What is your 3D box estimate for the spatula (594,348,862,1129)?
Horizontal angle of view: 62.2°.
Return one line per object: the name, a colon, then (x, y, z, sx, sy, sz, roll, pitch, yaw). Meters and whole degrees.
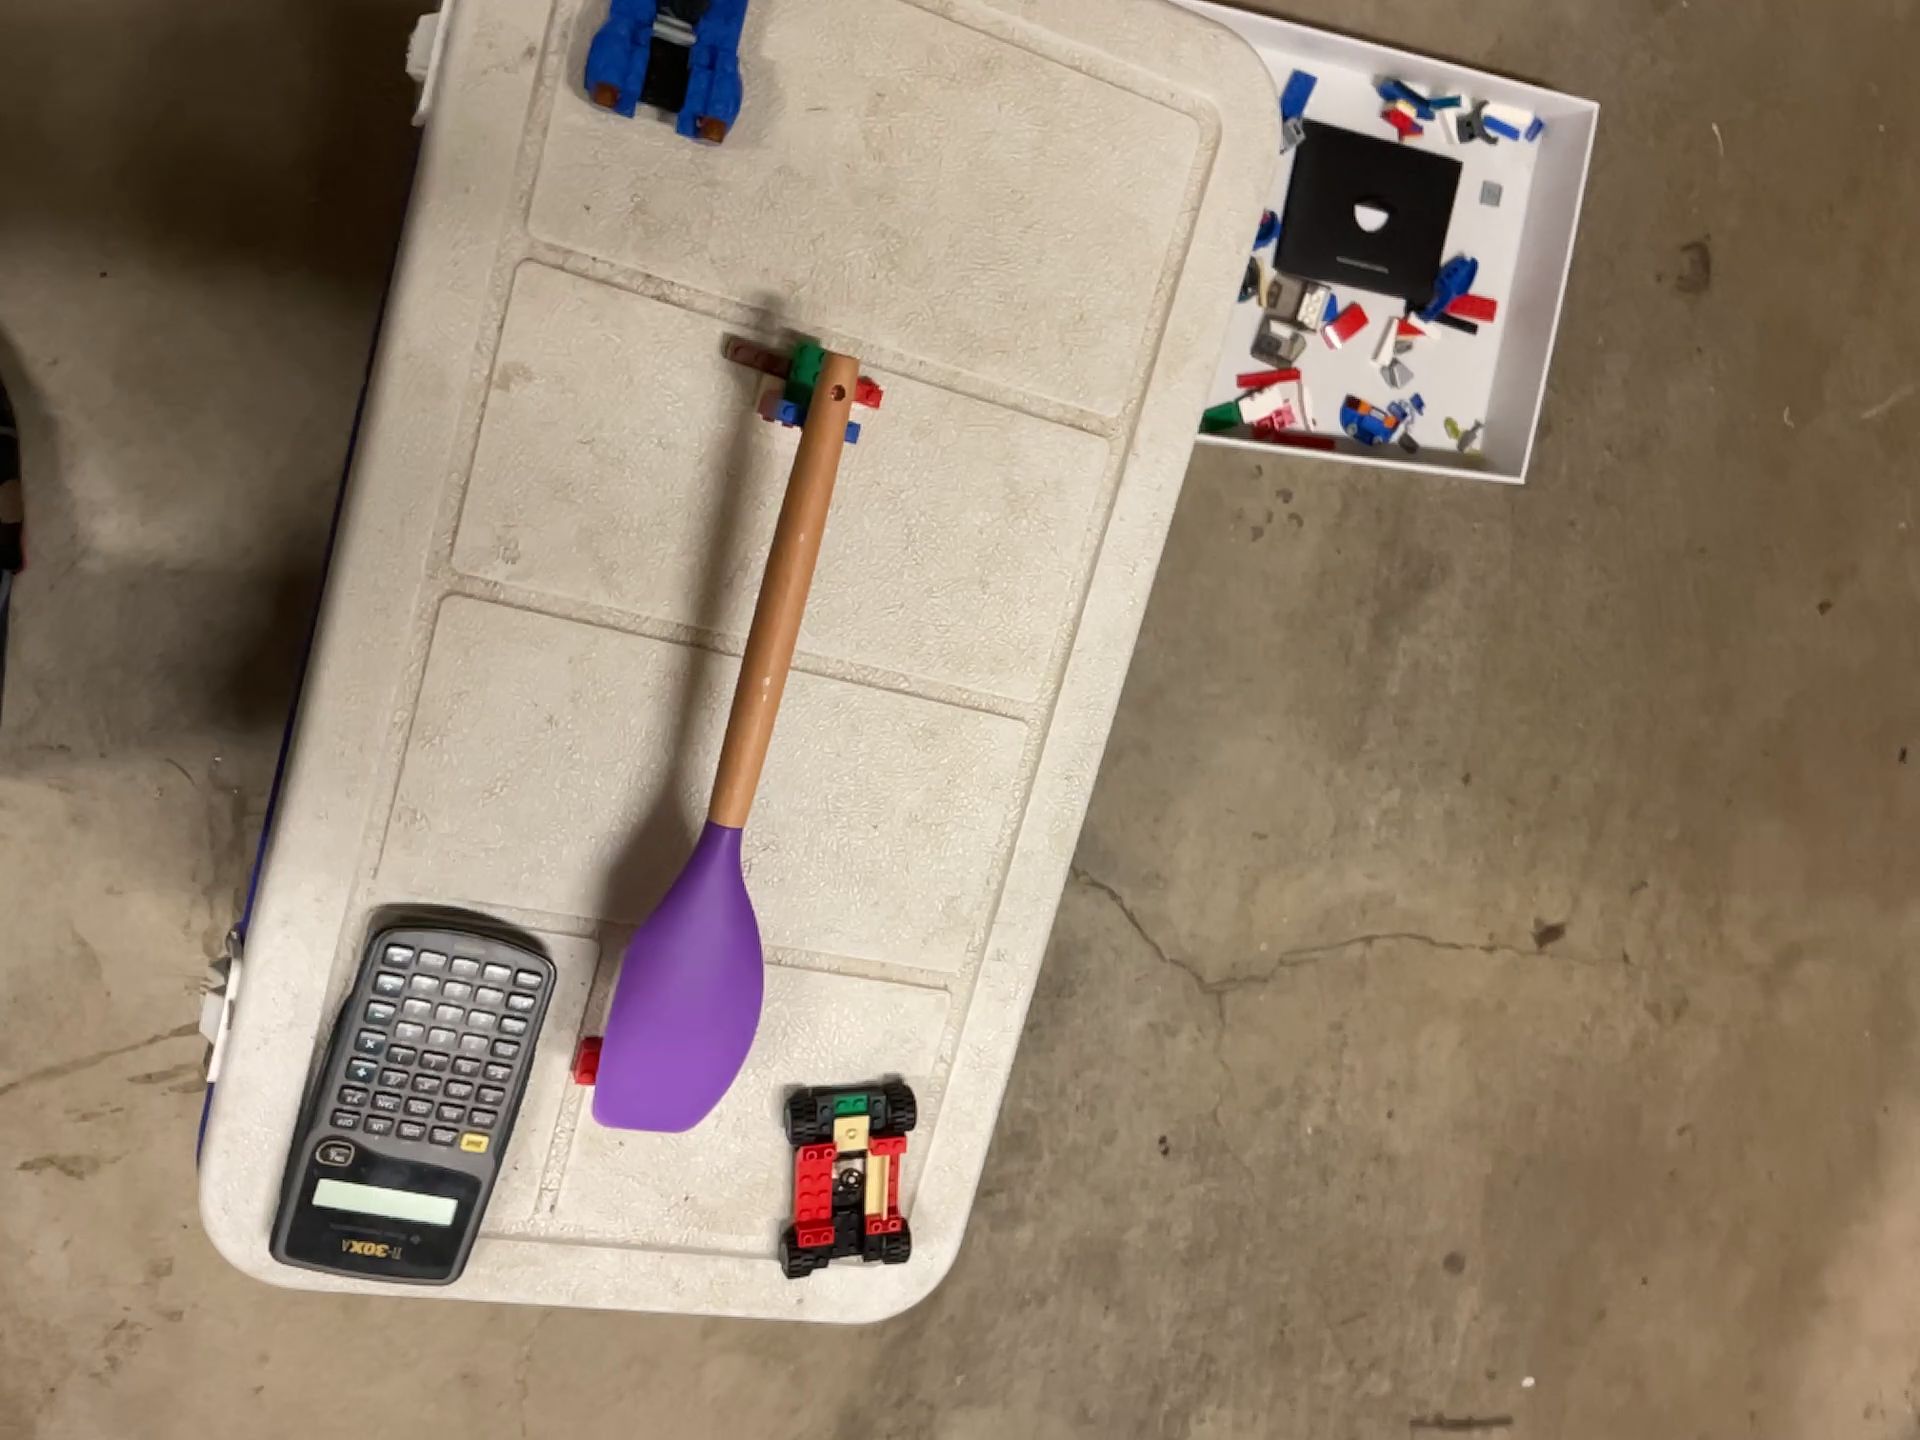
spatula: (-0.082, 0.014, 0.615, 0.060, 0.018, 0.316, 11, 101, -21)
